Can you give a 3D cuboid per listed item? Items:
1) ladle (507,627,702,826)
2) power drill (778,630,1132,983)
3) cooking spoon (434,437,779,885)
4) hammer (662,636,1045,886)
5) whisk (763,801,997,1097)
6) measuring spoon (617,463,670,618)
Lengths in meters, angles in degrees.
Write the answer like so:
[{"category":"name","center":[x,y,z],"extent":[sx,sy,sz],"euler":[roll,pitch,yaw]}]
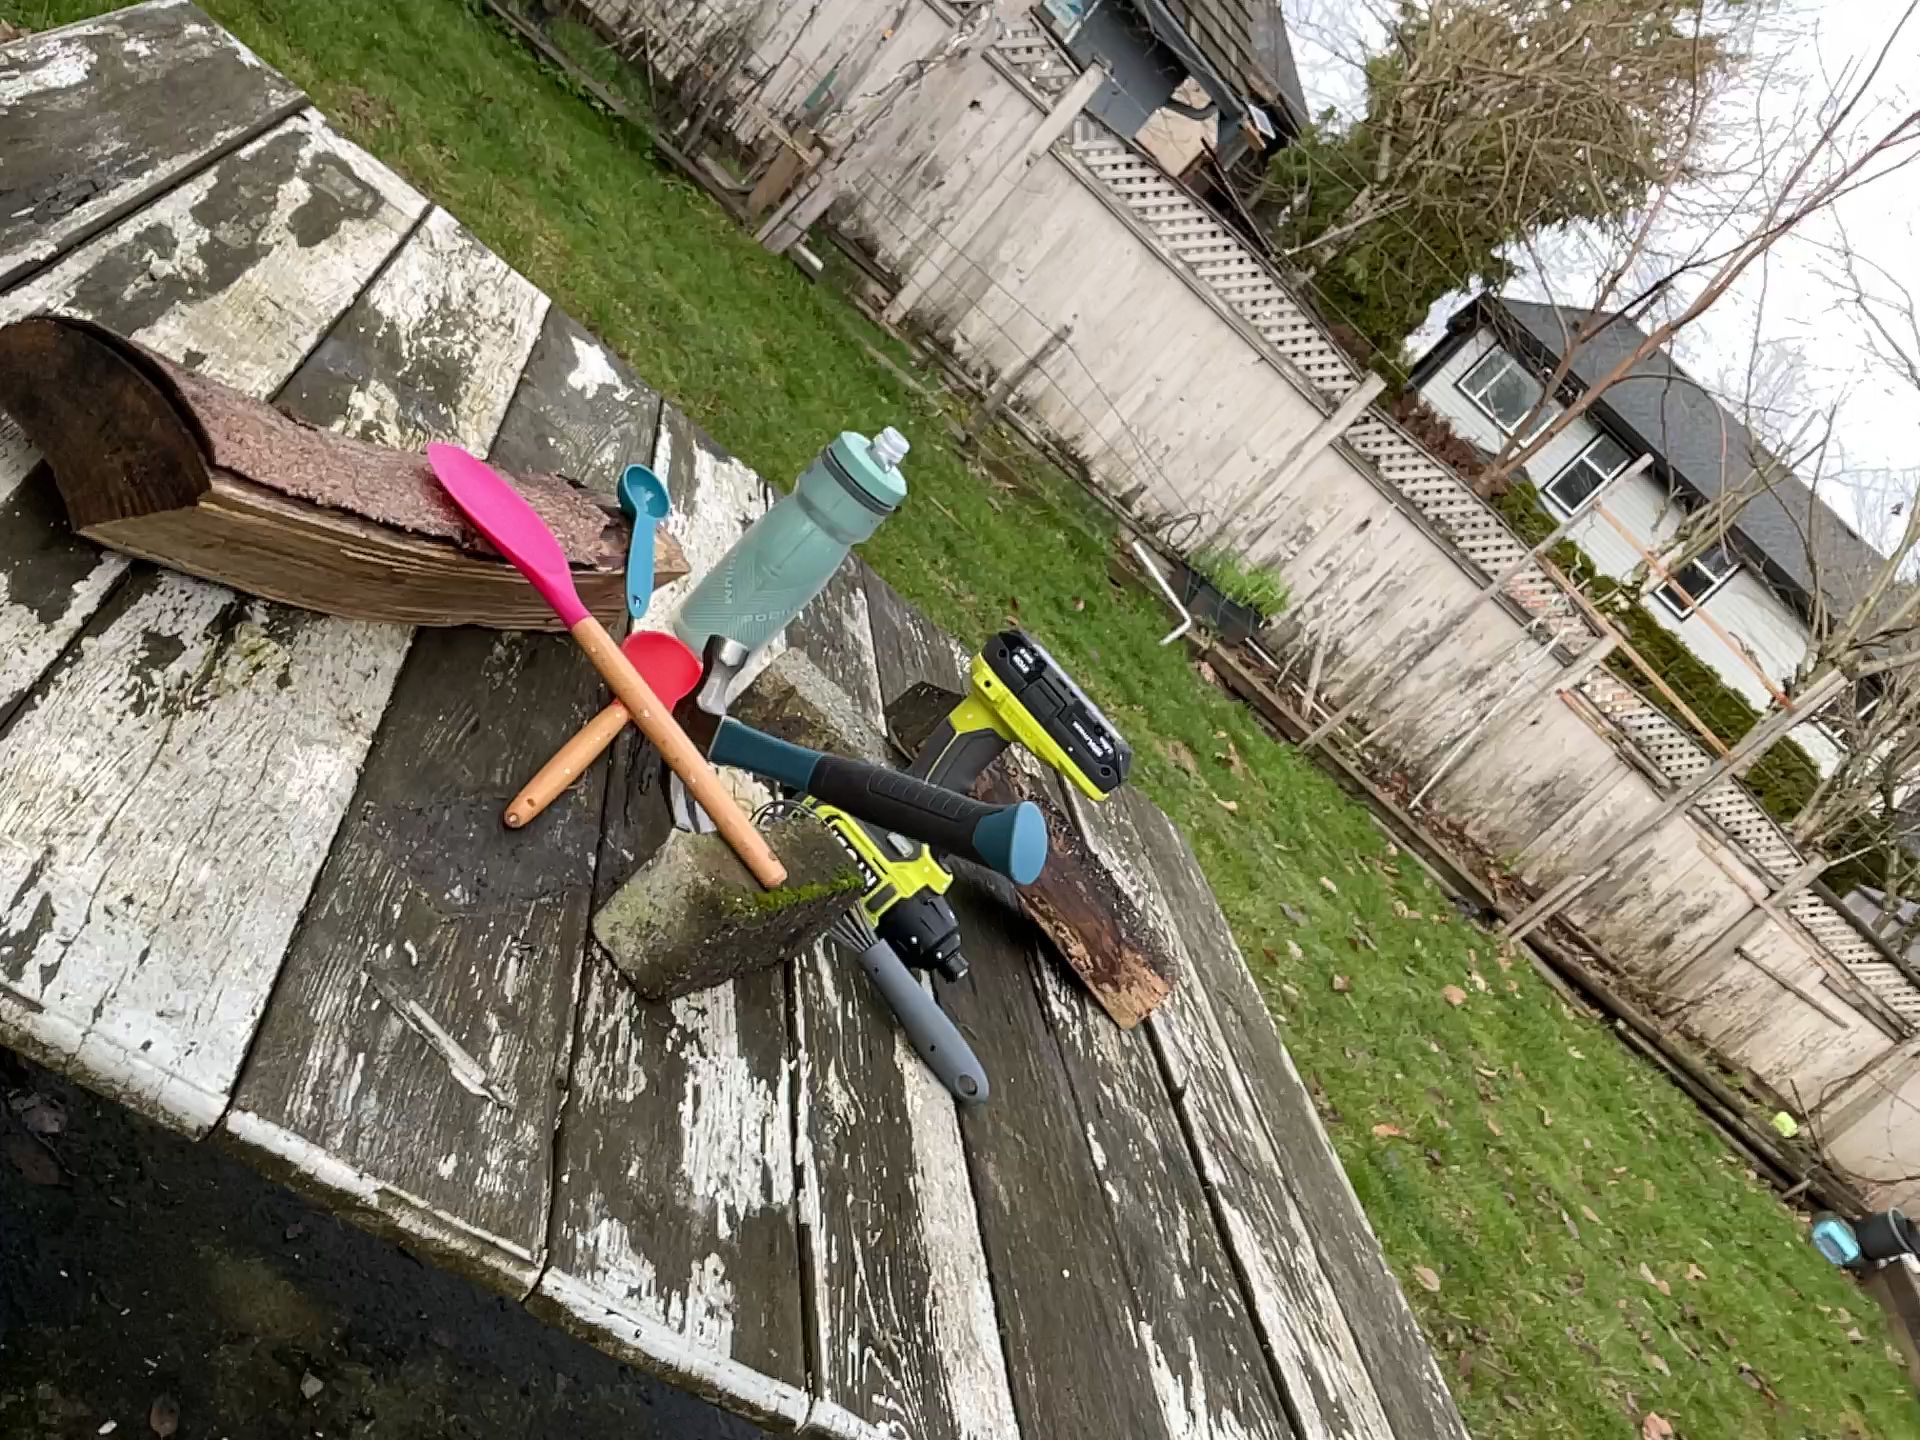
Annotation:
[{"category":"ladle","center":[-0.227,0.004,1.027],"extent":[0.069,0.031,0.315],"euler":[45,18,-9]},{"category":"power drill","center":[0.005,0.061,1.116],"extent":[0.171,0.223,0.080],"euler":[49,8,8]},{"category":"cooking spoon","center":[-0.200,-0.037,0.898],"extent":[0.319,0.017,0.068],"euler":[52,15,8]},{"category":"hammer","center":[-0.075,0.036,0.966],"extent":[0.331,0.128,0.033],"euler":[16,-7,44]},{"category":"whisk","center":[-0.054,0.150,1.044],"extent":[0.239,0.055,0.055],"euler":[50,24,6]},{"category":"measuring spoon","center":[-0.218,-0.117,1.069],"extent":[0.042,0.021,0.129],"euler":[32,42,-42]}]
